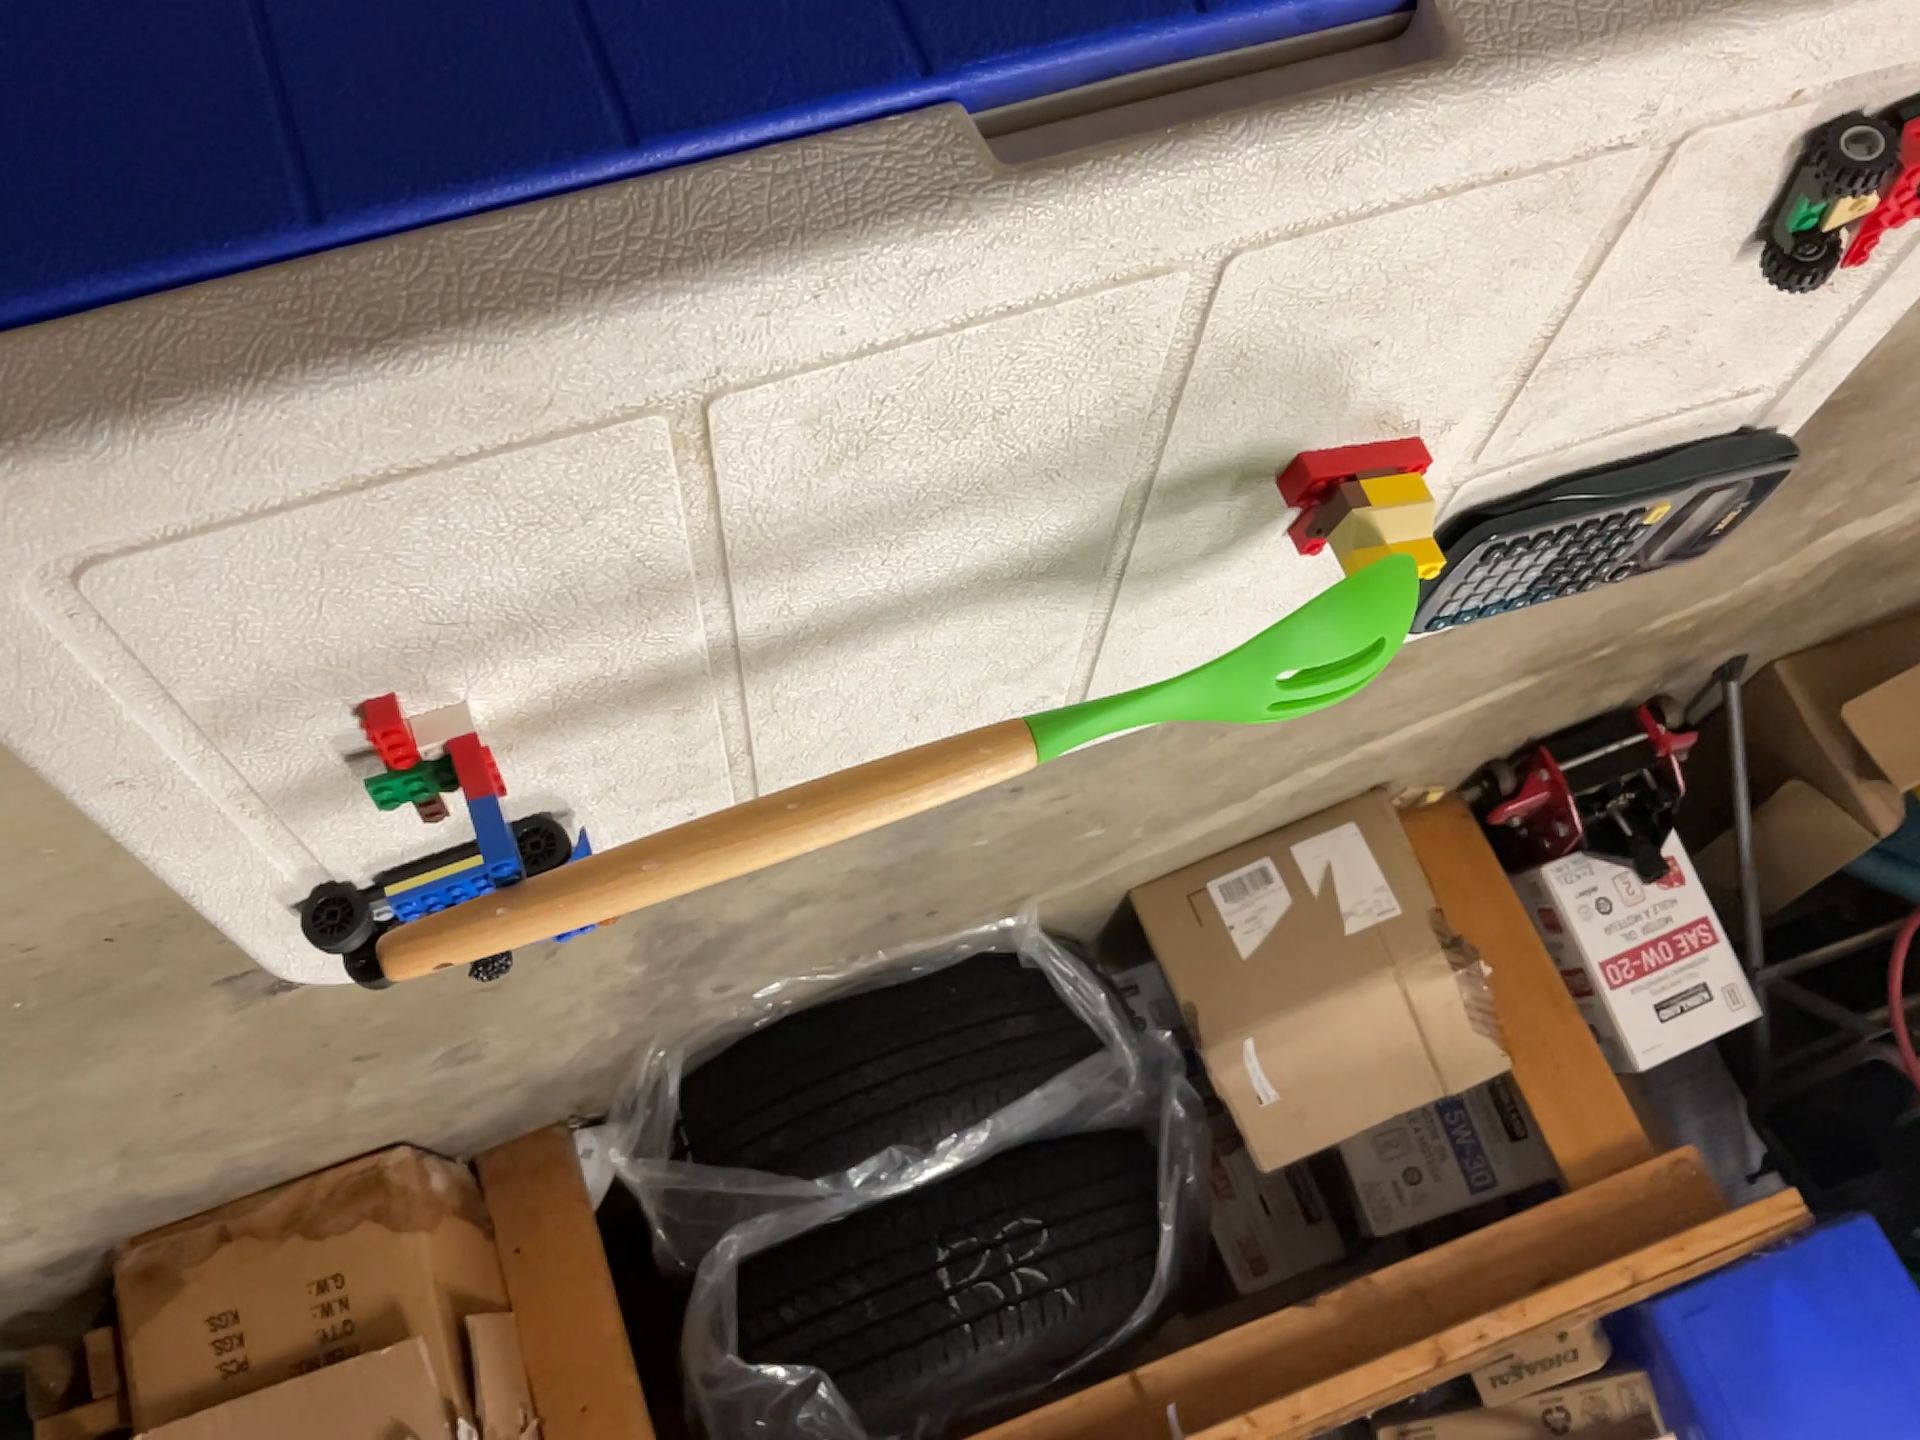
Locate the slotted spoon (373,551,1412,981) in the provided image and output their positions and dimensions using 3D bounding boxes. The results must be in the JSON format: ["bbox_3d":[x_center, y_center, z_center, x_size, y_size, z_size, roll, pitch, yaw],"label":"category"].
[{"bbox_3d":[-0.006,0.015,0.450,0.313,0.031,0.070,-18,159,-12],"label":"slotted spoon"}]
